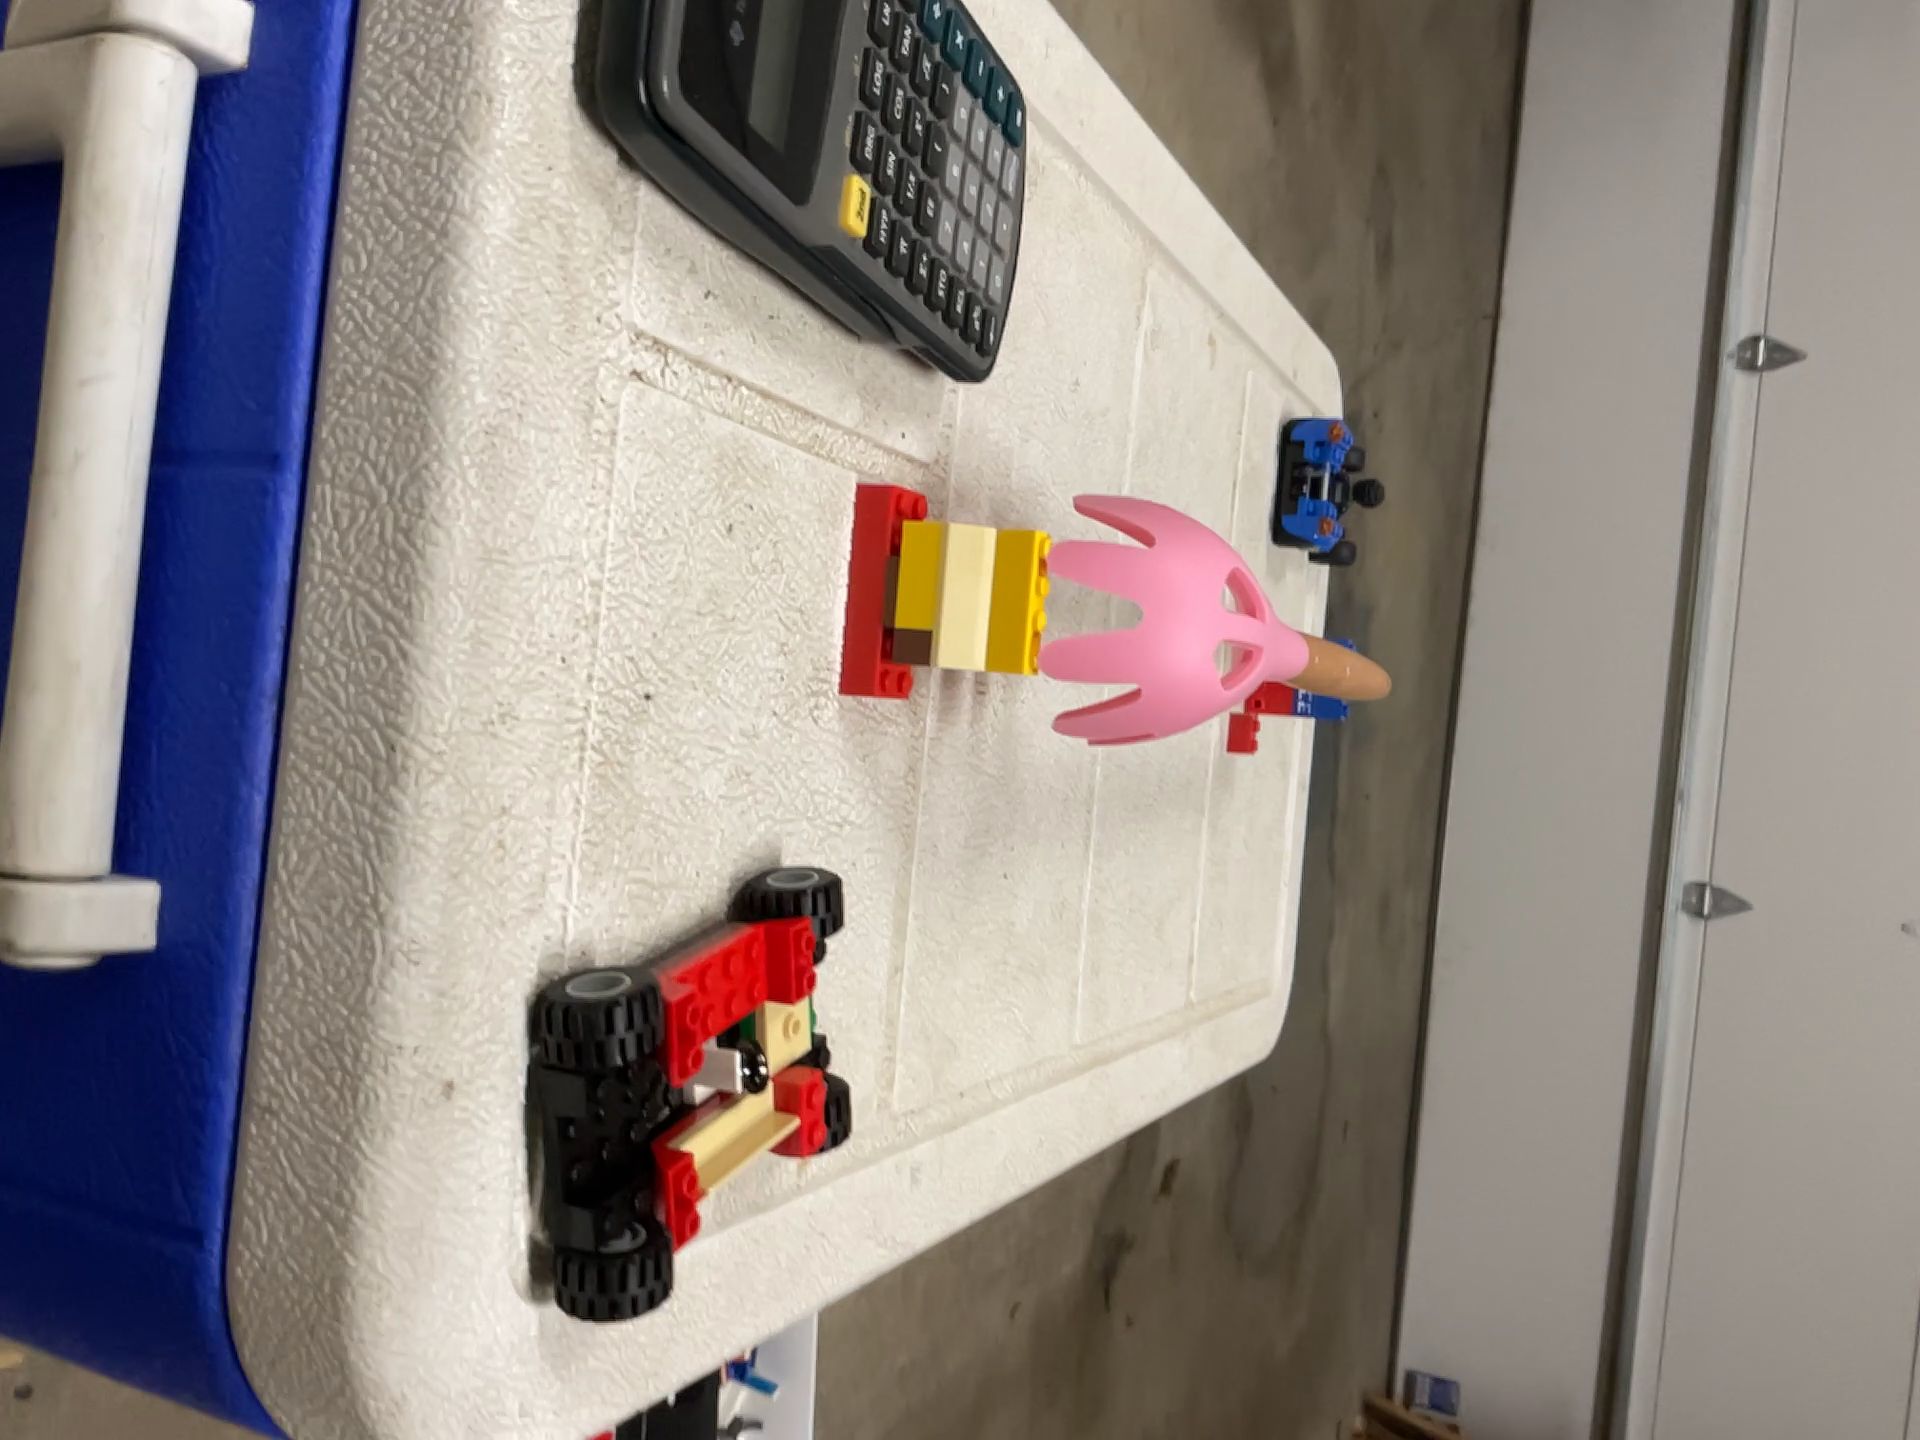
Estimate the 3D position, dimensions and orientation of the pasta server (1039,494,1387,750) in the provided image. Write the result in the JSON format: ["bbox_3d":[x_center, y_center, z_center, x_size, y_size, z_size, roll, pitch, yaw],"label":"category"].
[{"bbox_3d":[0.095,-0.018,0.486,0.316,0.040,0.060,5,89,-68],"label":"pasta server"}]
